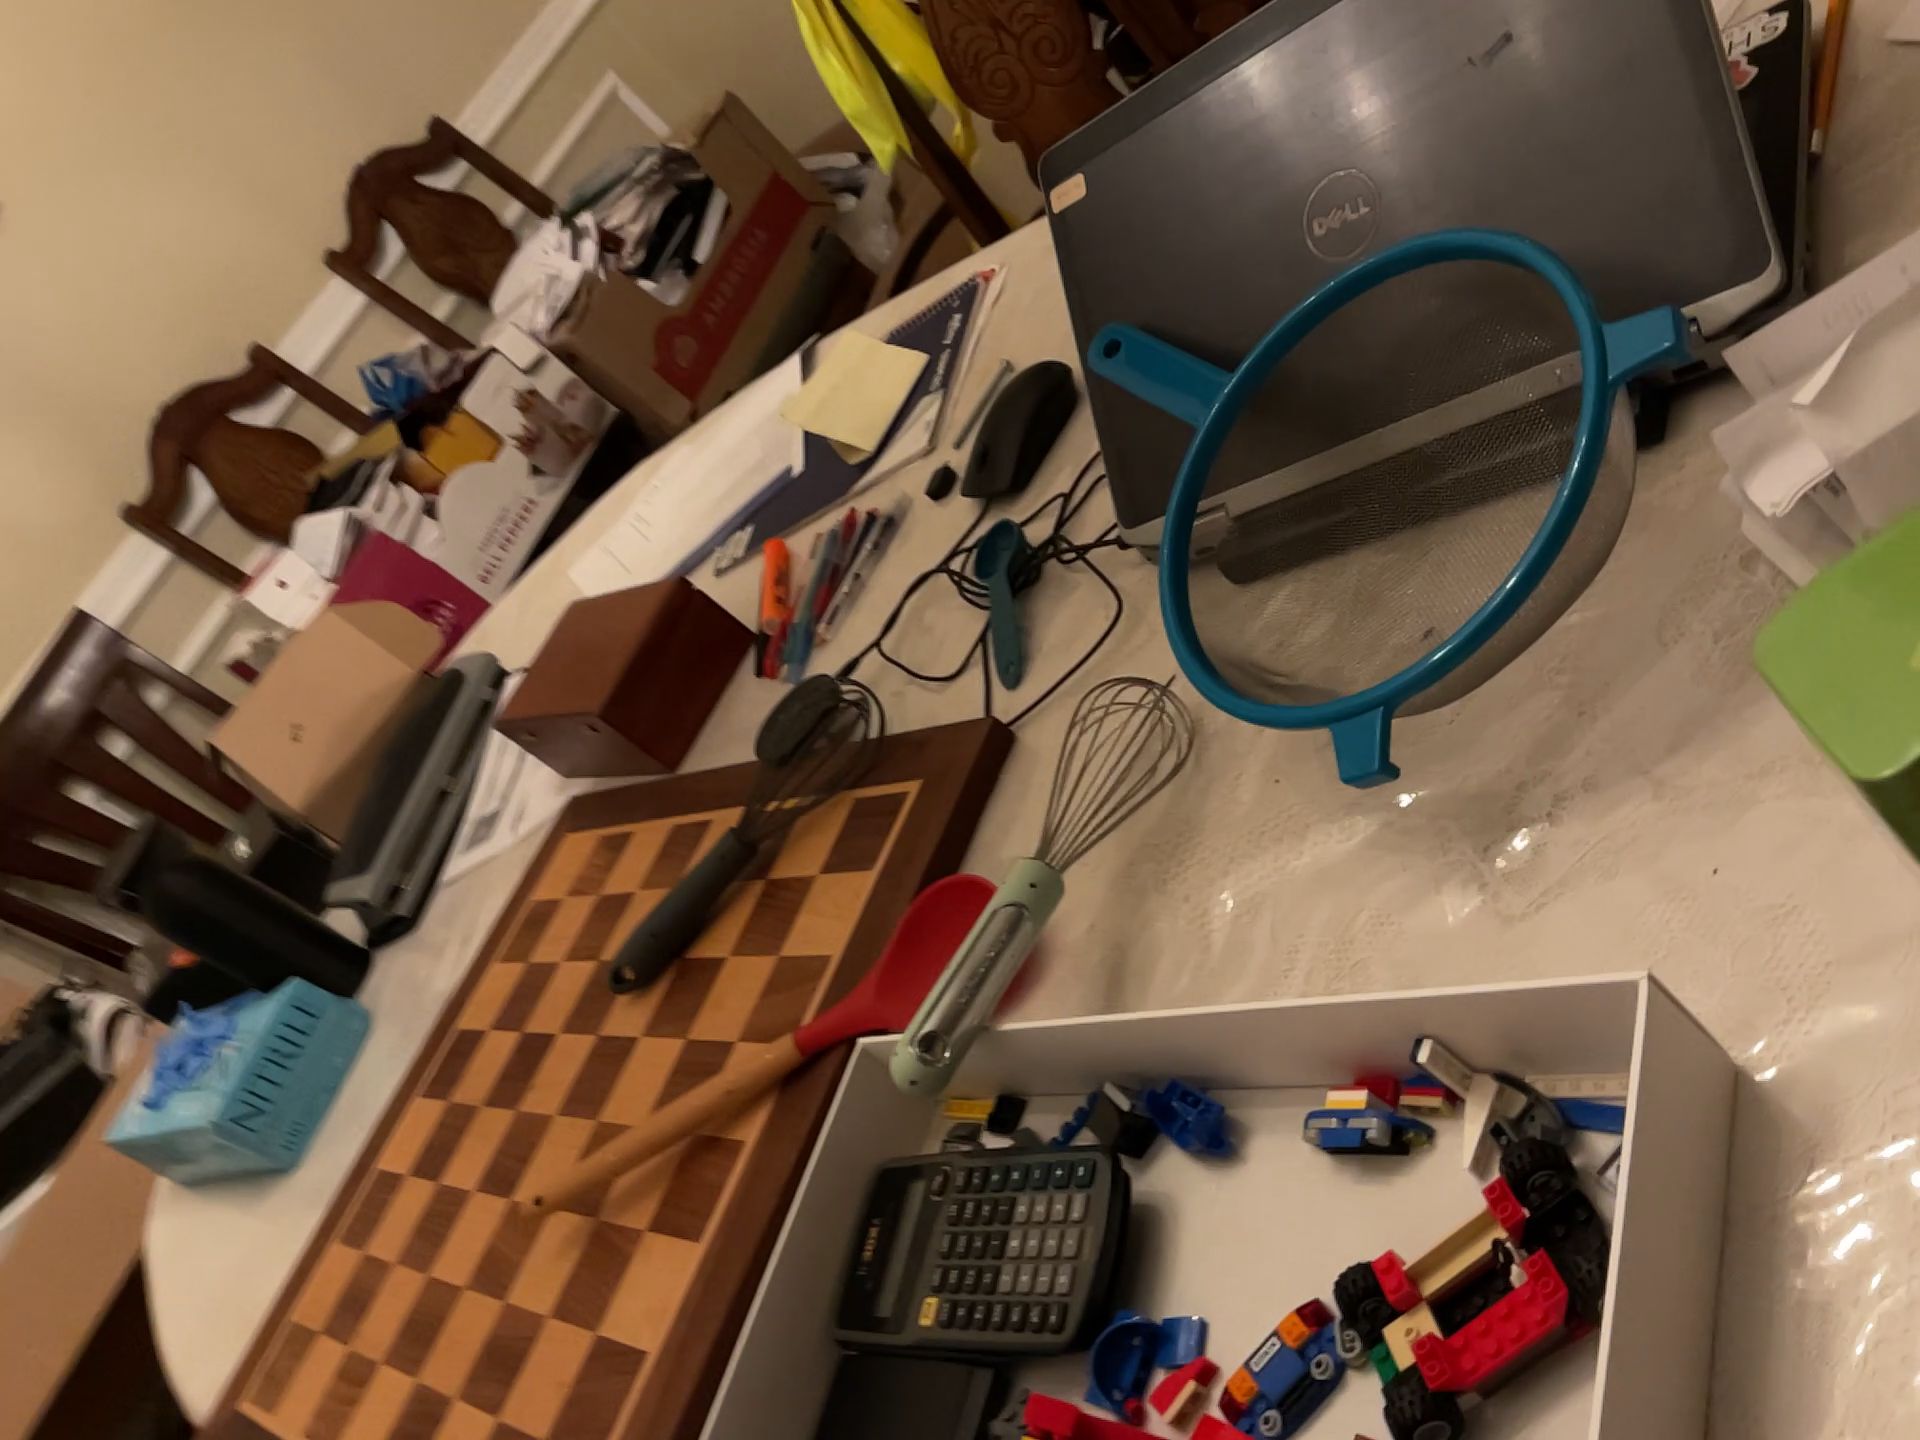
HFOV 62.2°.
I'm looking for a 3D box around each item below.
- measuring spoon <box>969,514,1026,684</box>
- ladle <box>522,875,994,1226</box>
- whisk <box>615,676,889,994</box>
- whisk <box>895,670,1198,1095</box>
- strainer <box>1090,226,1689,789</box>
[{"bbox_3d":[0.031,-0.067,0.927,0.042,0.021,0.129,-40,41,33],"label":"measuring spoon"},{"bbox_3d":[-0.100,0.173,0.776,0.315,0.031,0.069,-34,53,18],"label":"ladle"},{"bbox_3d":[-0.124,0.070,0.924,0.239,0.055,0.055,-50,14,9],"label":"whisk"},{"bbox_3d":[0.040,0.061,0.682,0.246,0.058,0.059,-54,-5,-37],"label":"whisk"},{"bbox_3d":[0.162,-0.109,0.694,0.211,0.095,0.341,-58,32,12],"label":"strainer"}]
